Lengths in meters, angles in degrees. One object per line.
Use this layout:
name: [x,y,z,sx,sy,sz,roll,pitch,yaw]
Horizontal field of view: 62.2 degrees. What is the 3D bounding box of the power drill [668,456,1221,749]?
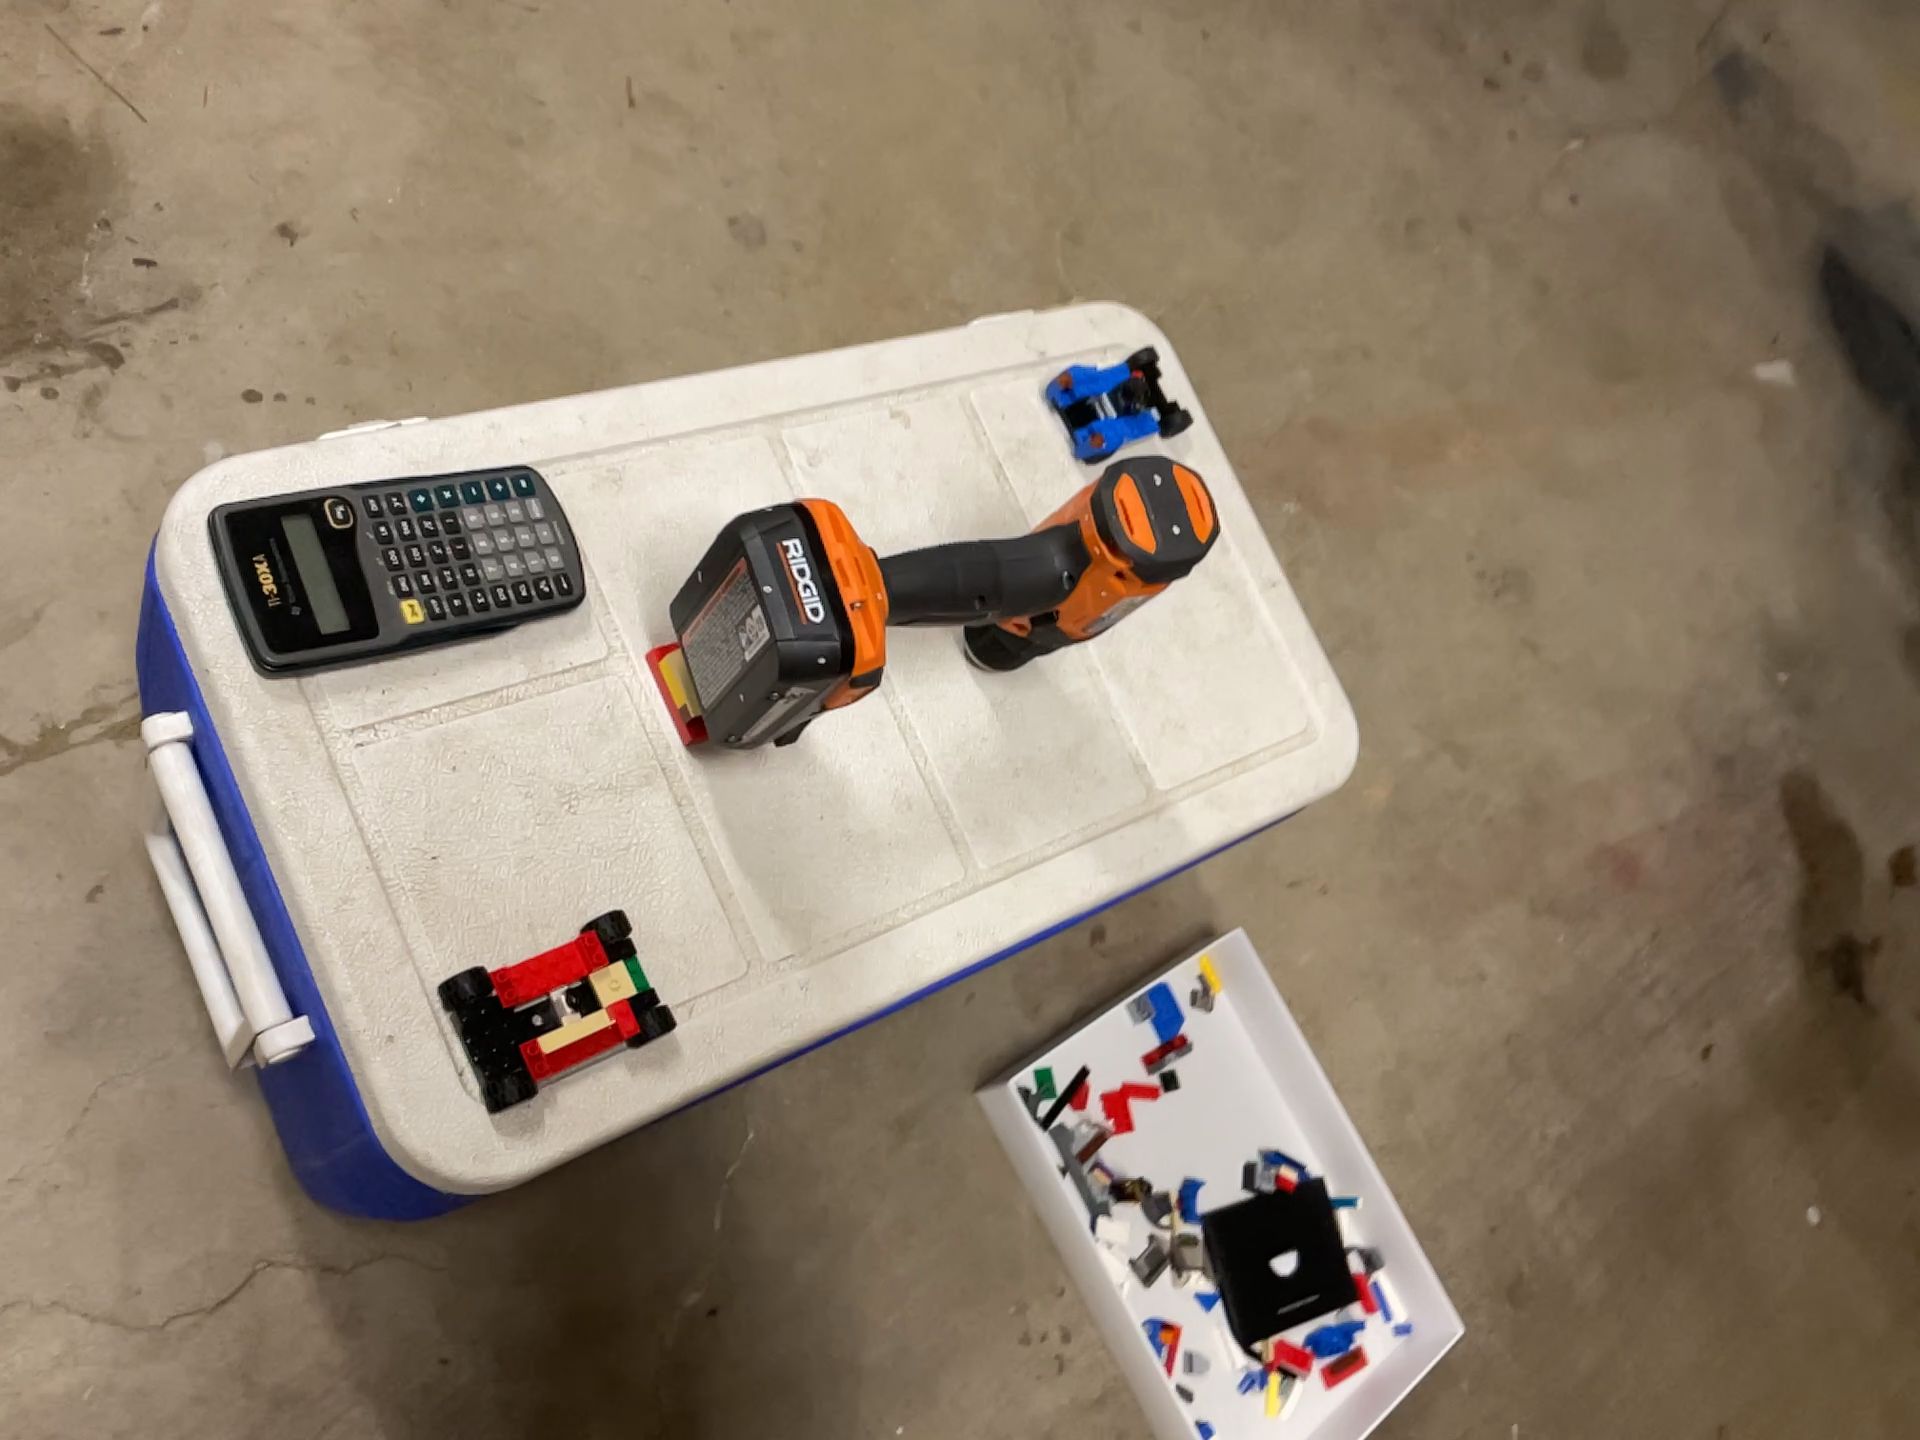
power drill: [-0.015,-0.051,0.744,0.226,0.185,0.084,-14,80,-29]
